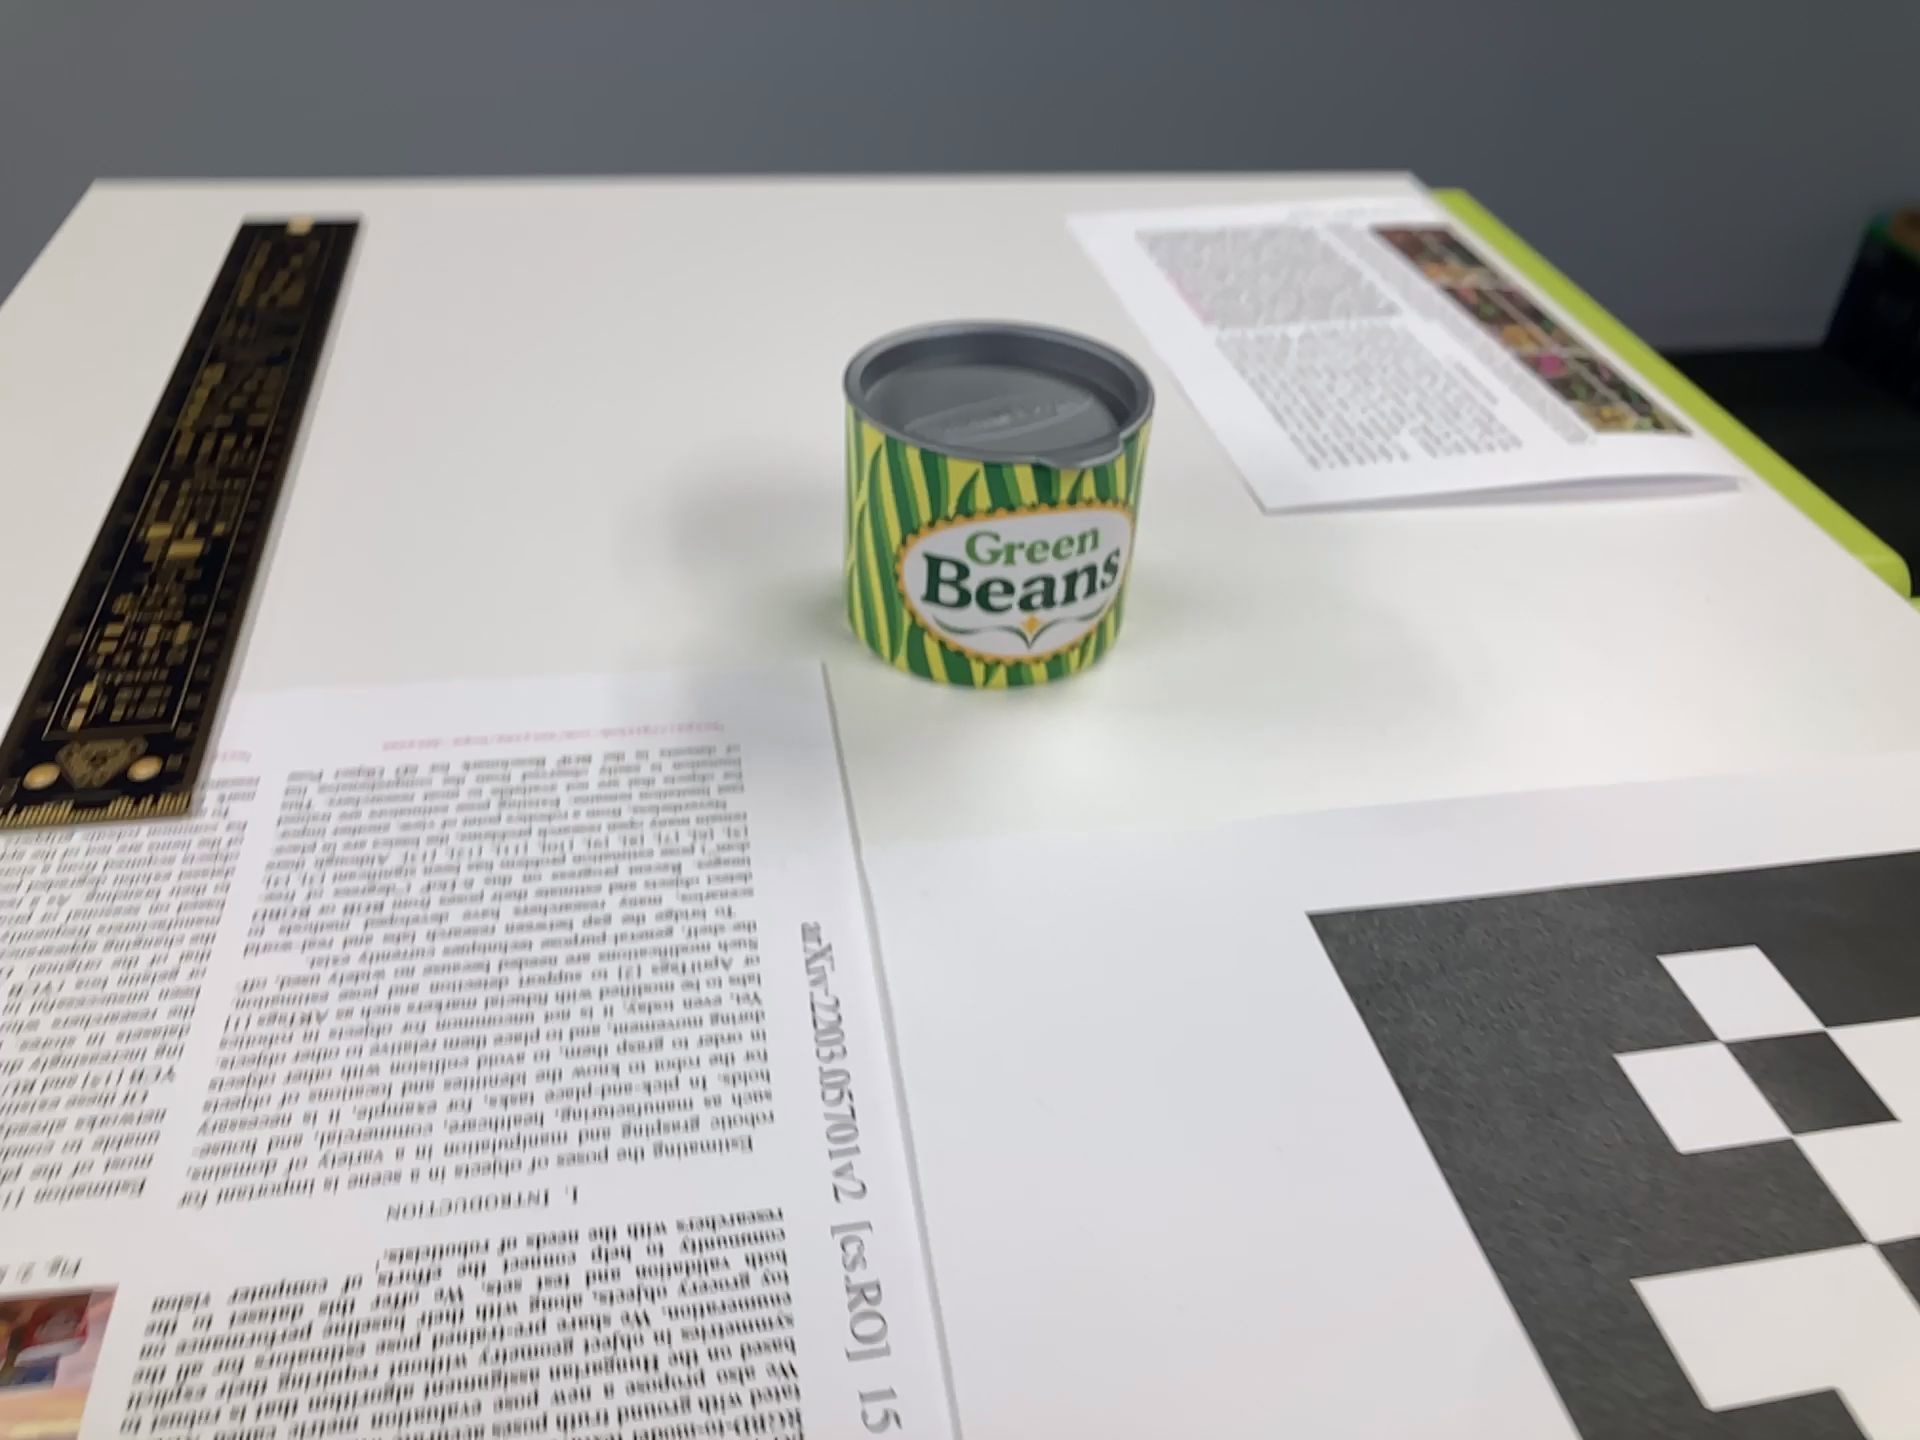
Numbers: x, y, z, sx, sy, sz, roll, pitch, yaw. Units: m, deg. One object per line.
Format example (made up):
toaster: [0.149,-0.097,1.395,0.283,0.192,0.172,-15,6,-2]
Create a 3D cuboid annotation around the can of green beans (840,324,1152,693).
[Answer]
can of green beans: [0.006,-0.047,0.355,0.071,0.058,0.071,2,37,-1]
